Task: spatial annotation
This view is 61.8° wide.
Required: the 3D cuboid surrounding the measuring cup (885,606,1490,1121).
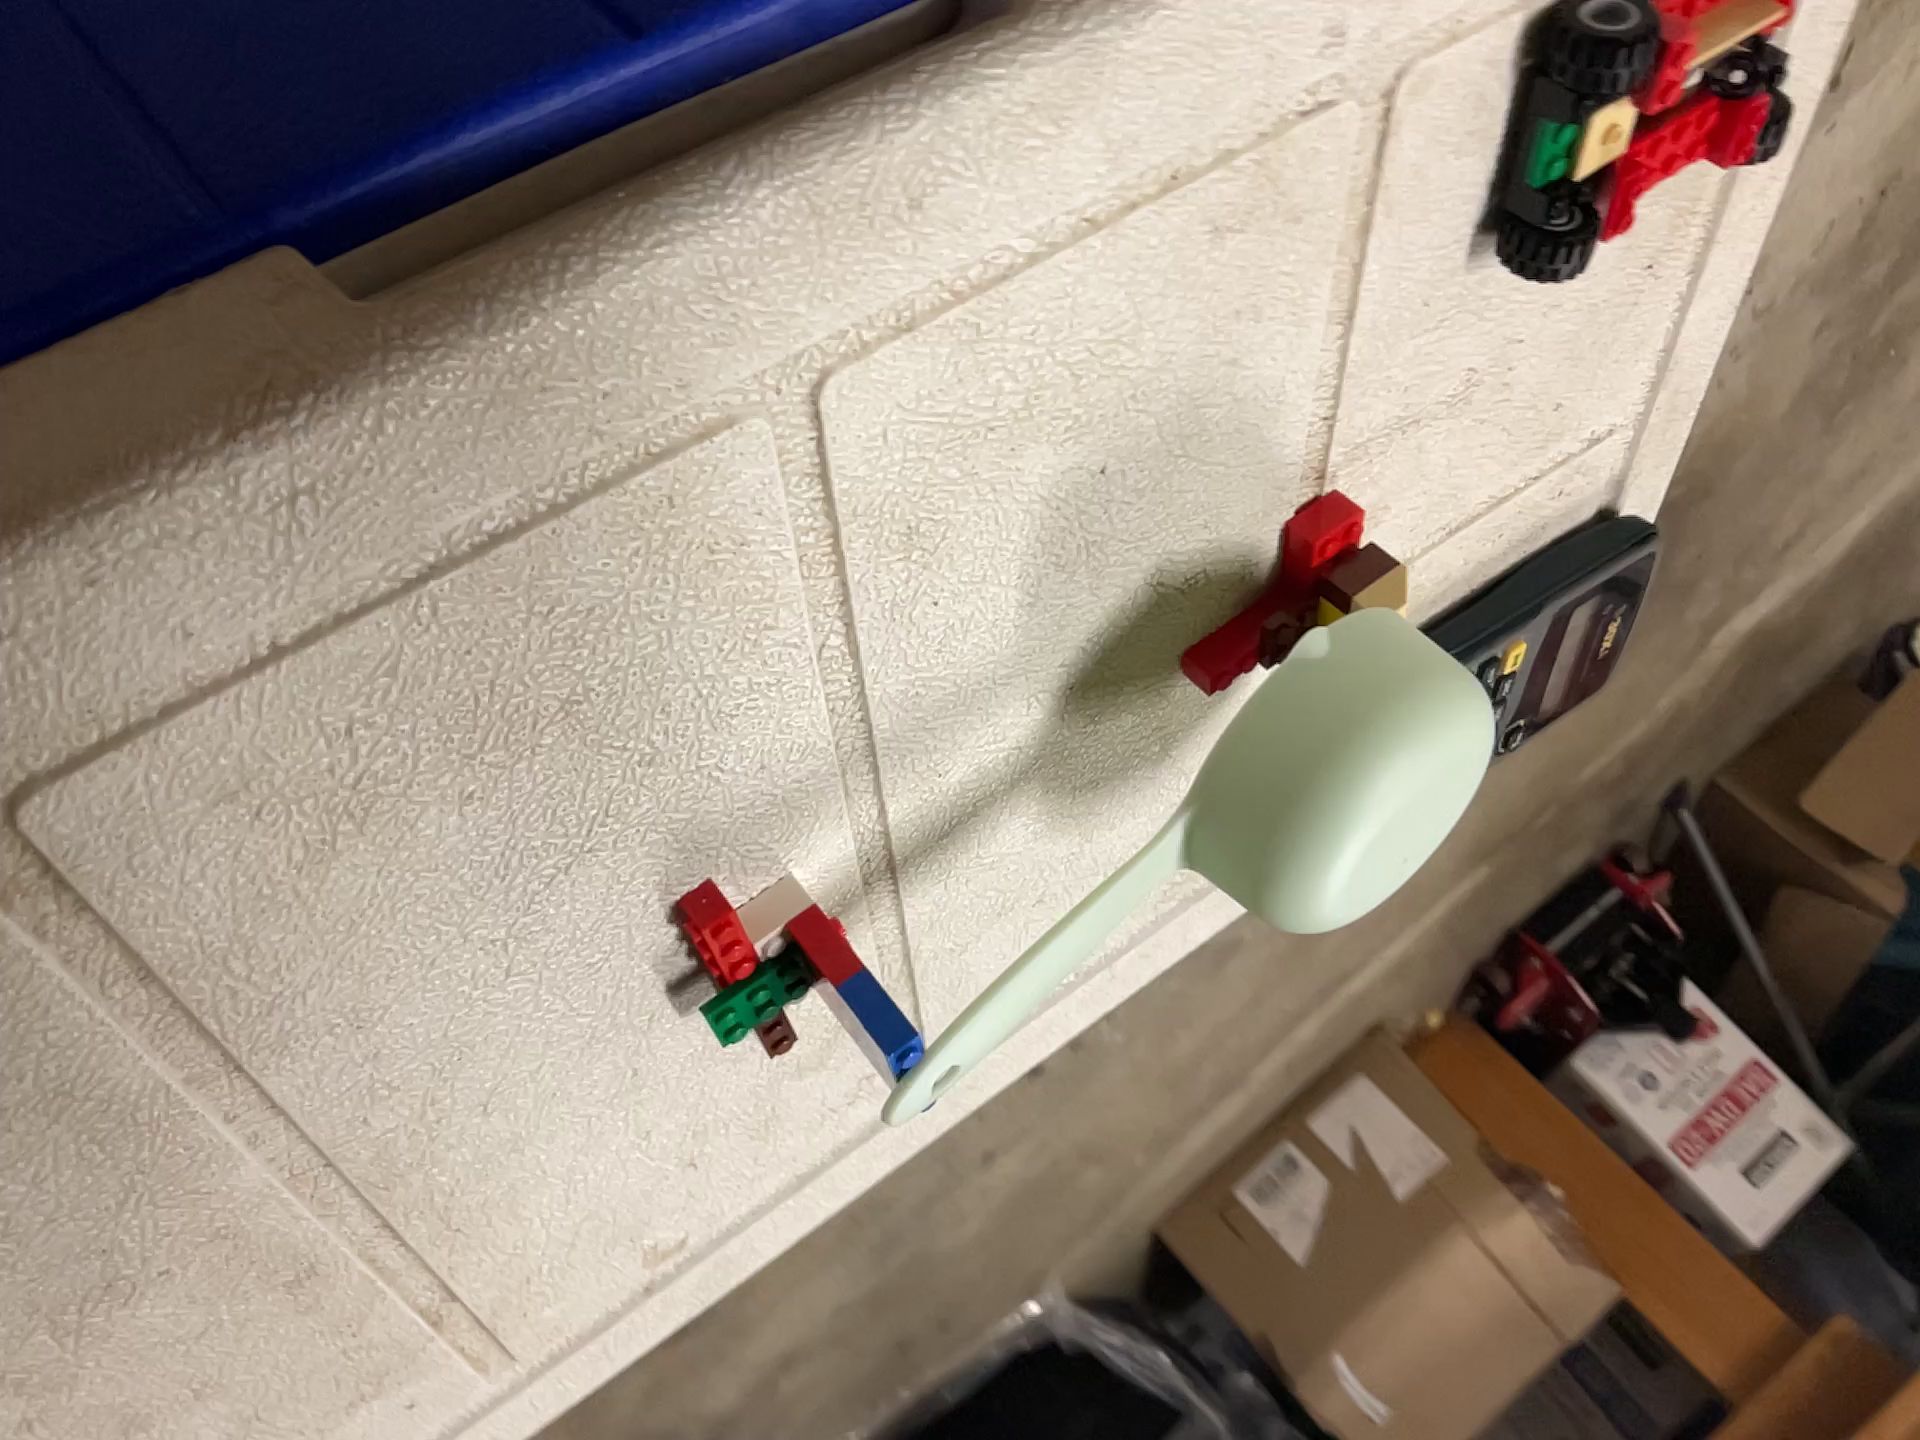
[{"bbox_3d":[0.056,0.041,0.355,0.167,0.038,0.083,-39,149,-21],"label":"measuring cup"}]
